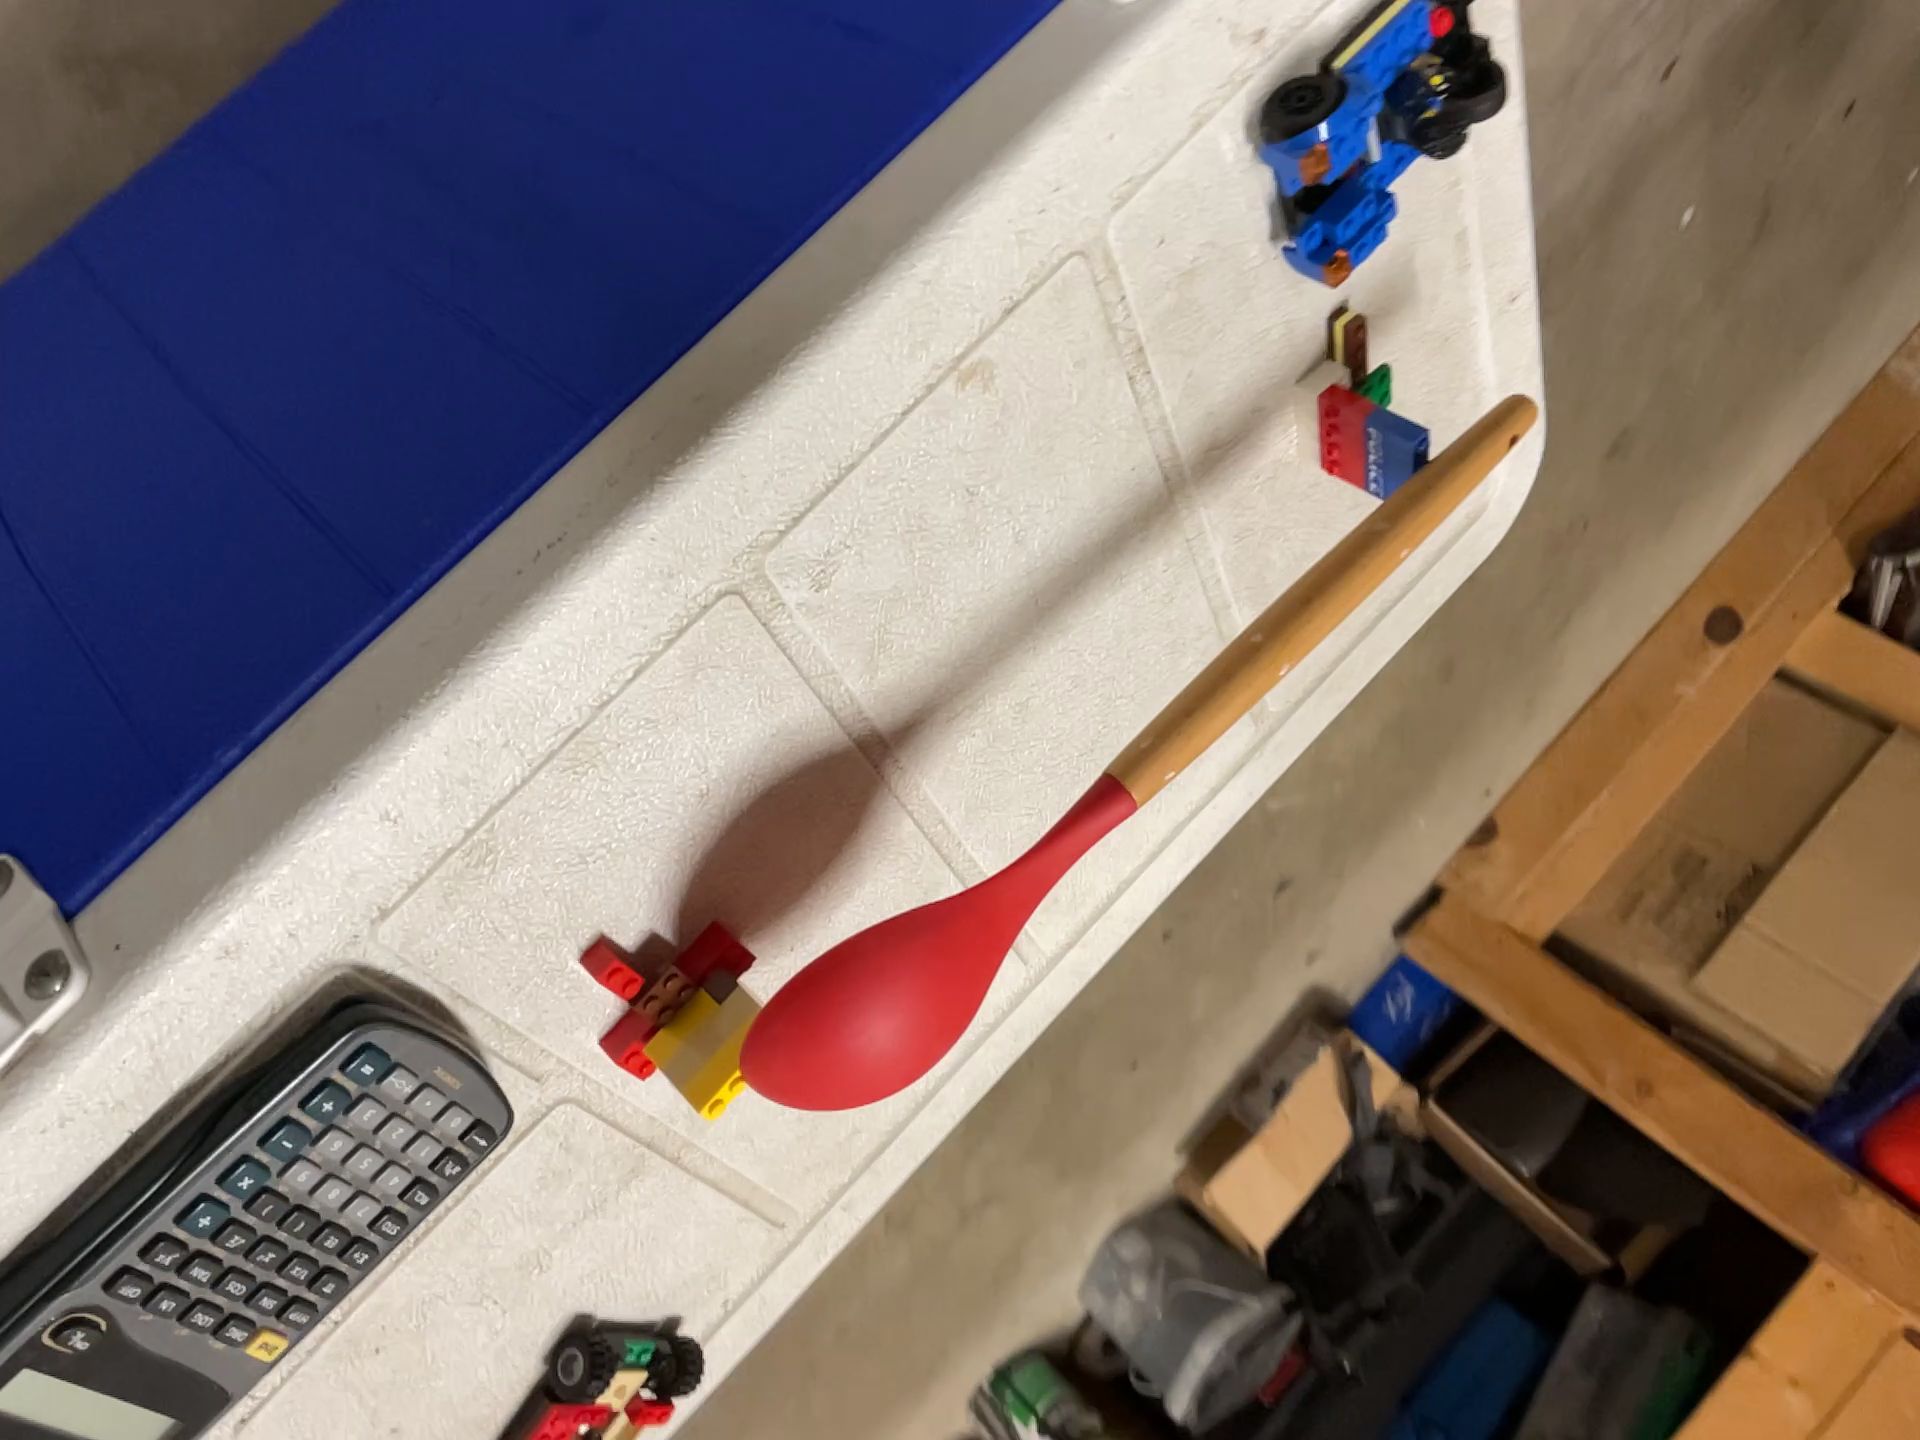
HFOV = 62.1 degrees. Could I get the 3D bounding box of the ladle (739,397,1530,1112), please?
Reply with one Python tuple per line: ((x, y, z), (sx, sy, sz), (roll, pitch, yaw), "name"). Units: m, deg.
((0.064, 0.004, 0.469), (0.315, 0.031, 0.069), (-42, 142, -14), "ladle")
